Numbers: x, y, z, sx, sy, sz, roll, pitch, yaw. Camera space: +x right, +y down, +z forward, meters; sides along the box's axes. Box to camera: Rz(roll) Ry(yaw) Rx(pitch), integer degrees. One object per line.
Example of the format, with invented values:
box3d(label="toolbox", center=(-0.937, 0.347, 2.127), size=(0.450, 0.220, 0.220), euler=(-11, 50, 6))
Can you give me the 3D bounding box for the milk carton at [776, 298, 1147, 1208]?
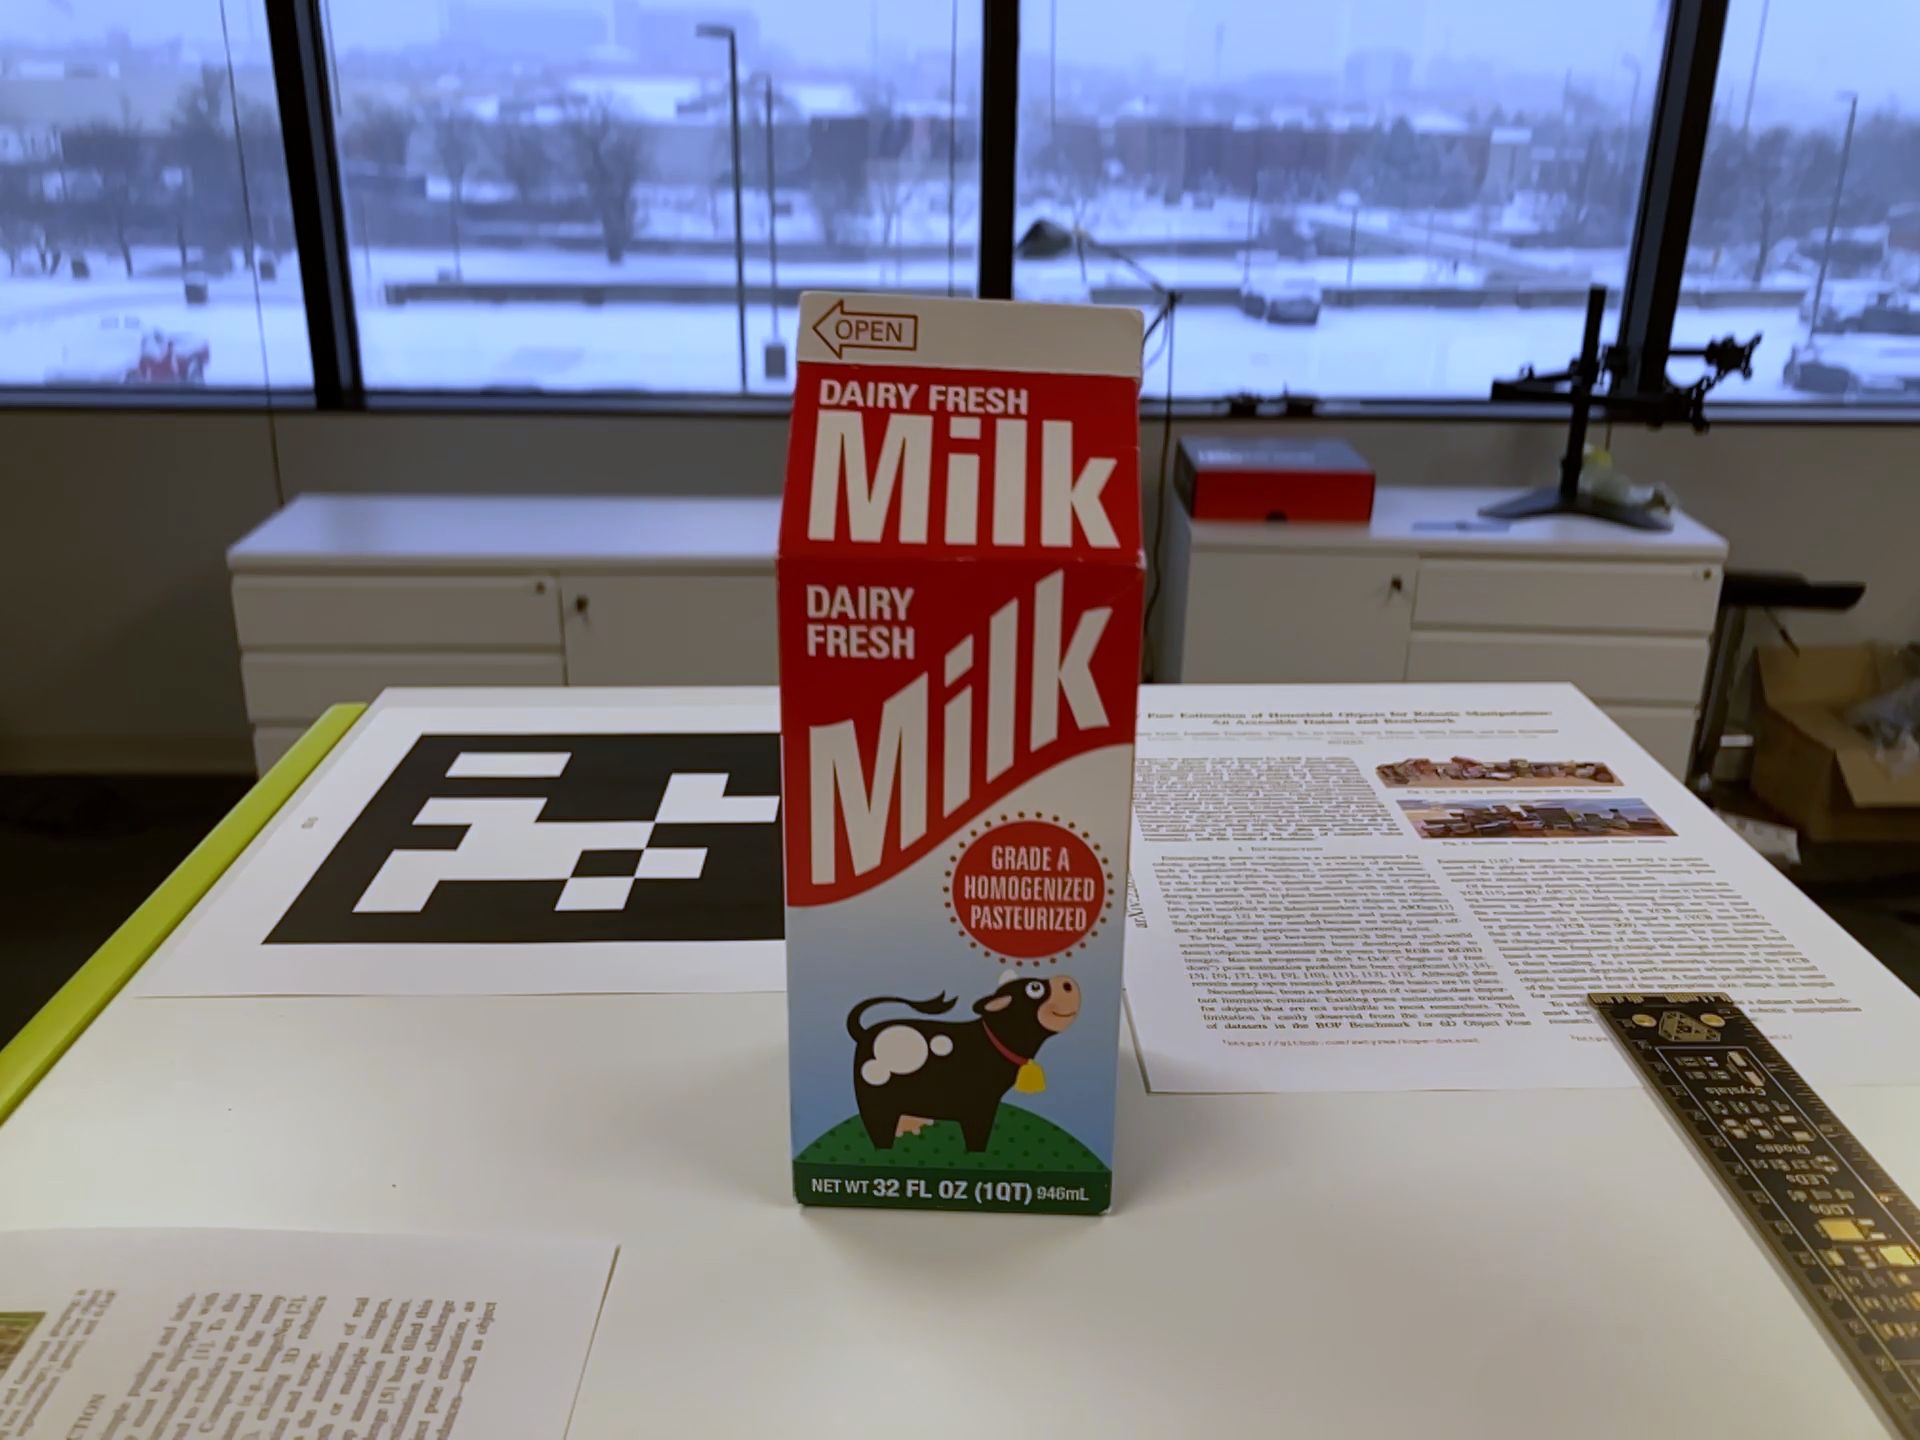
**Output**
box3d(label="milk carton", center=(0.001, 0.006, 0.350), size=(0.072, 0.190, 0.073), euler=(2, 20, 1))
